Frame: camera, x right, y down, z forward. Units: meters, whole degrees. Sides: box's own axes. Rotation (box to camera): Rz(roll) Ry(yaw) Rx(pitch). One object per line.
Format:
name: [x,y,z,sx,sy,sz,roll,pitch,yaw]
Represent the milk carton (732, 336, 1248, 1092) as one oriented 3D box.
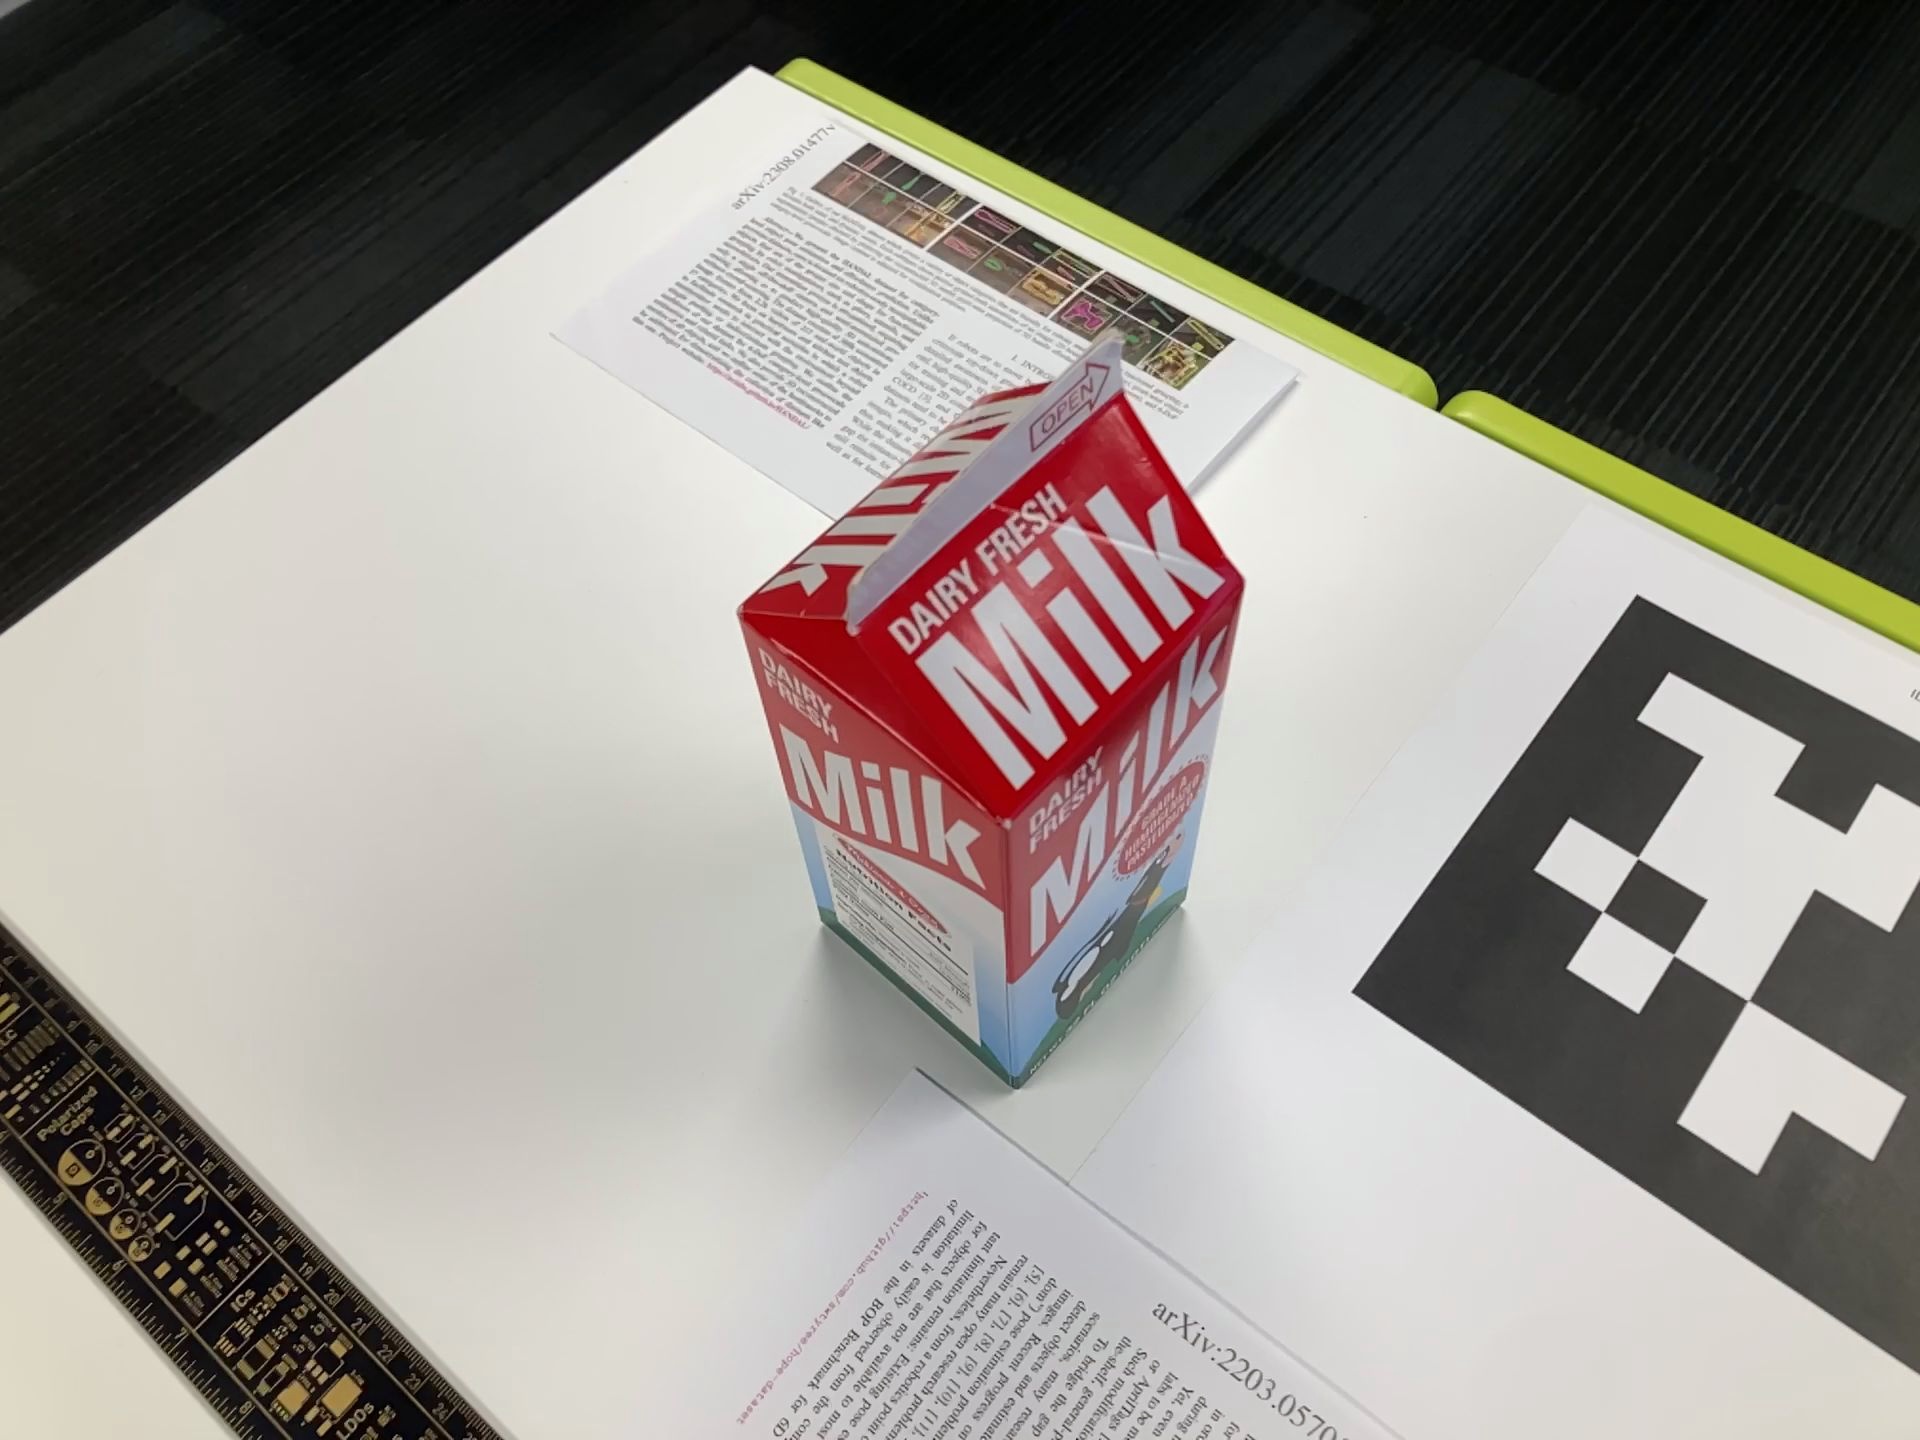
milk carton: [0.008,0.004,0.346,0.073,0.190,0.072,37,68,22]
